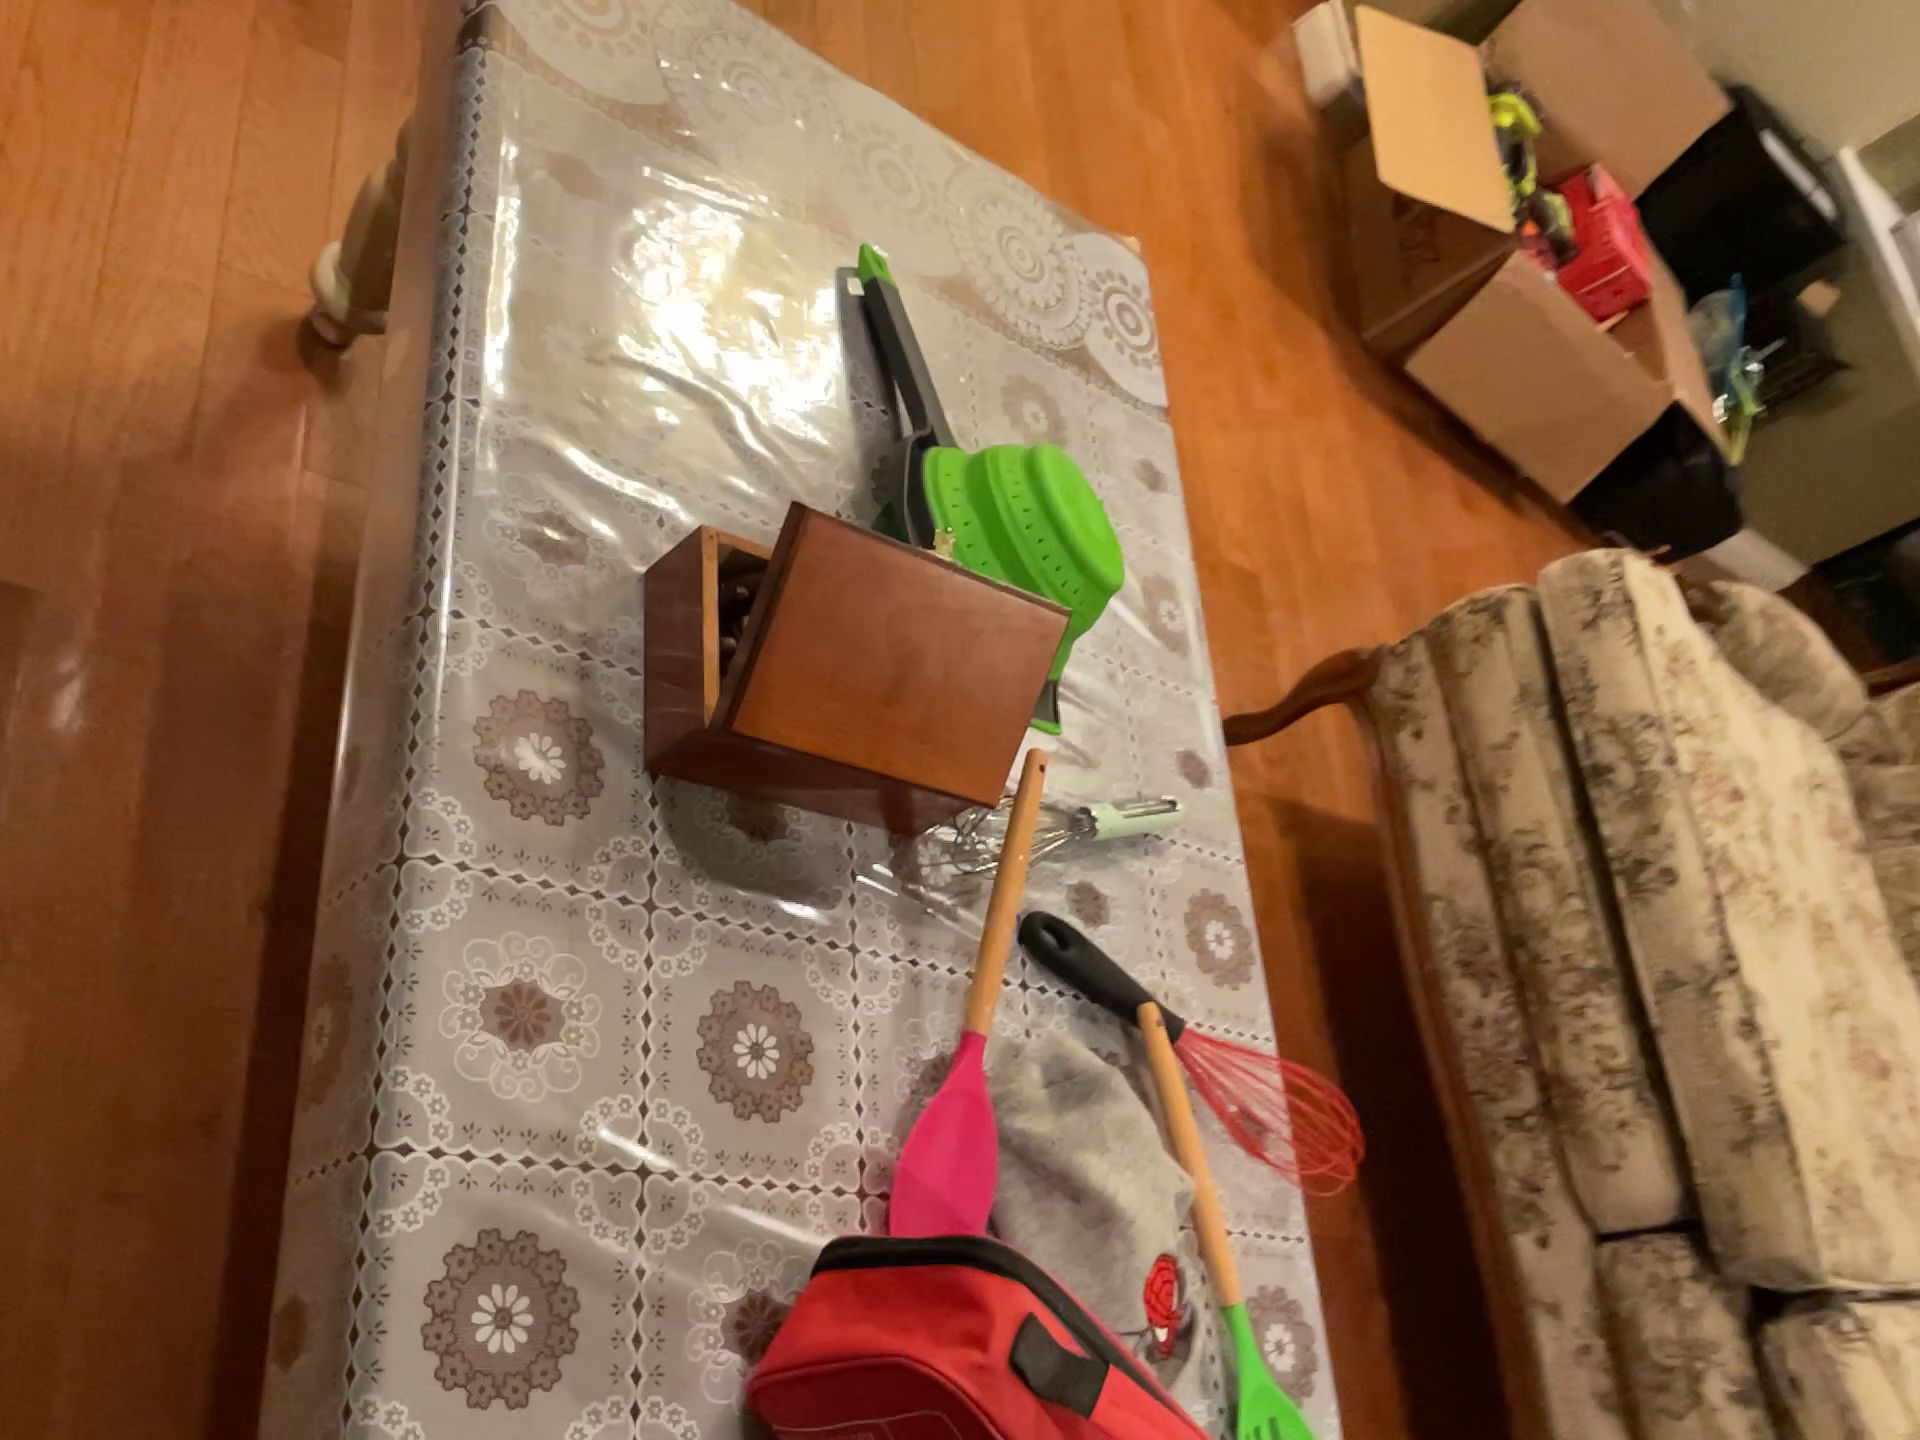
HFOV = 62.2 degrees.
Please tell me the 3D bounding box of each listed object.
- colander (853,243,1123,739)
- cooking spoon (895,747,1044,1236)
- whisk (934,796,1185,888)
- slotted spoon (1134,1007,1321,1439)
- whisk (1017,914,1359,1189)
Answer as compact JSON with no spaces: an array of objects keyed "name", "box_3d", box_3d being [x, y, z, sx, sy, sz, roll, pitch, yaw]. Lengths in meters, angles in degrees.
[{"name":"colander","box_3d":[0.018,-0.185,1.073,0.204,0.094,0.397,26,40,-58]},{"name":"cooking spoon","box_3d":[0.014,0.159,0.913,0.068,0.017,0.319,31,59,-31]},{"name":"whisk","box_3d":[0.075,0.072,1.056,0.246,0.059,0.057,-4,112,-48]},{"name":"slotted spoon","box_3d":[0.159,0.330,0.976,0.070,0.031,0.314,-4,73,-46]},{"name":"whisk","box_3d":[0.152,0.214,1.035,0.295,0.073,0.073,38,51,-14]}]
